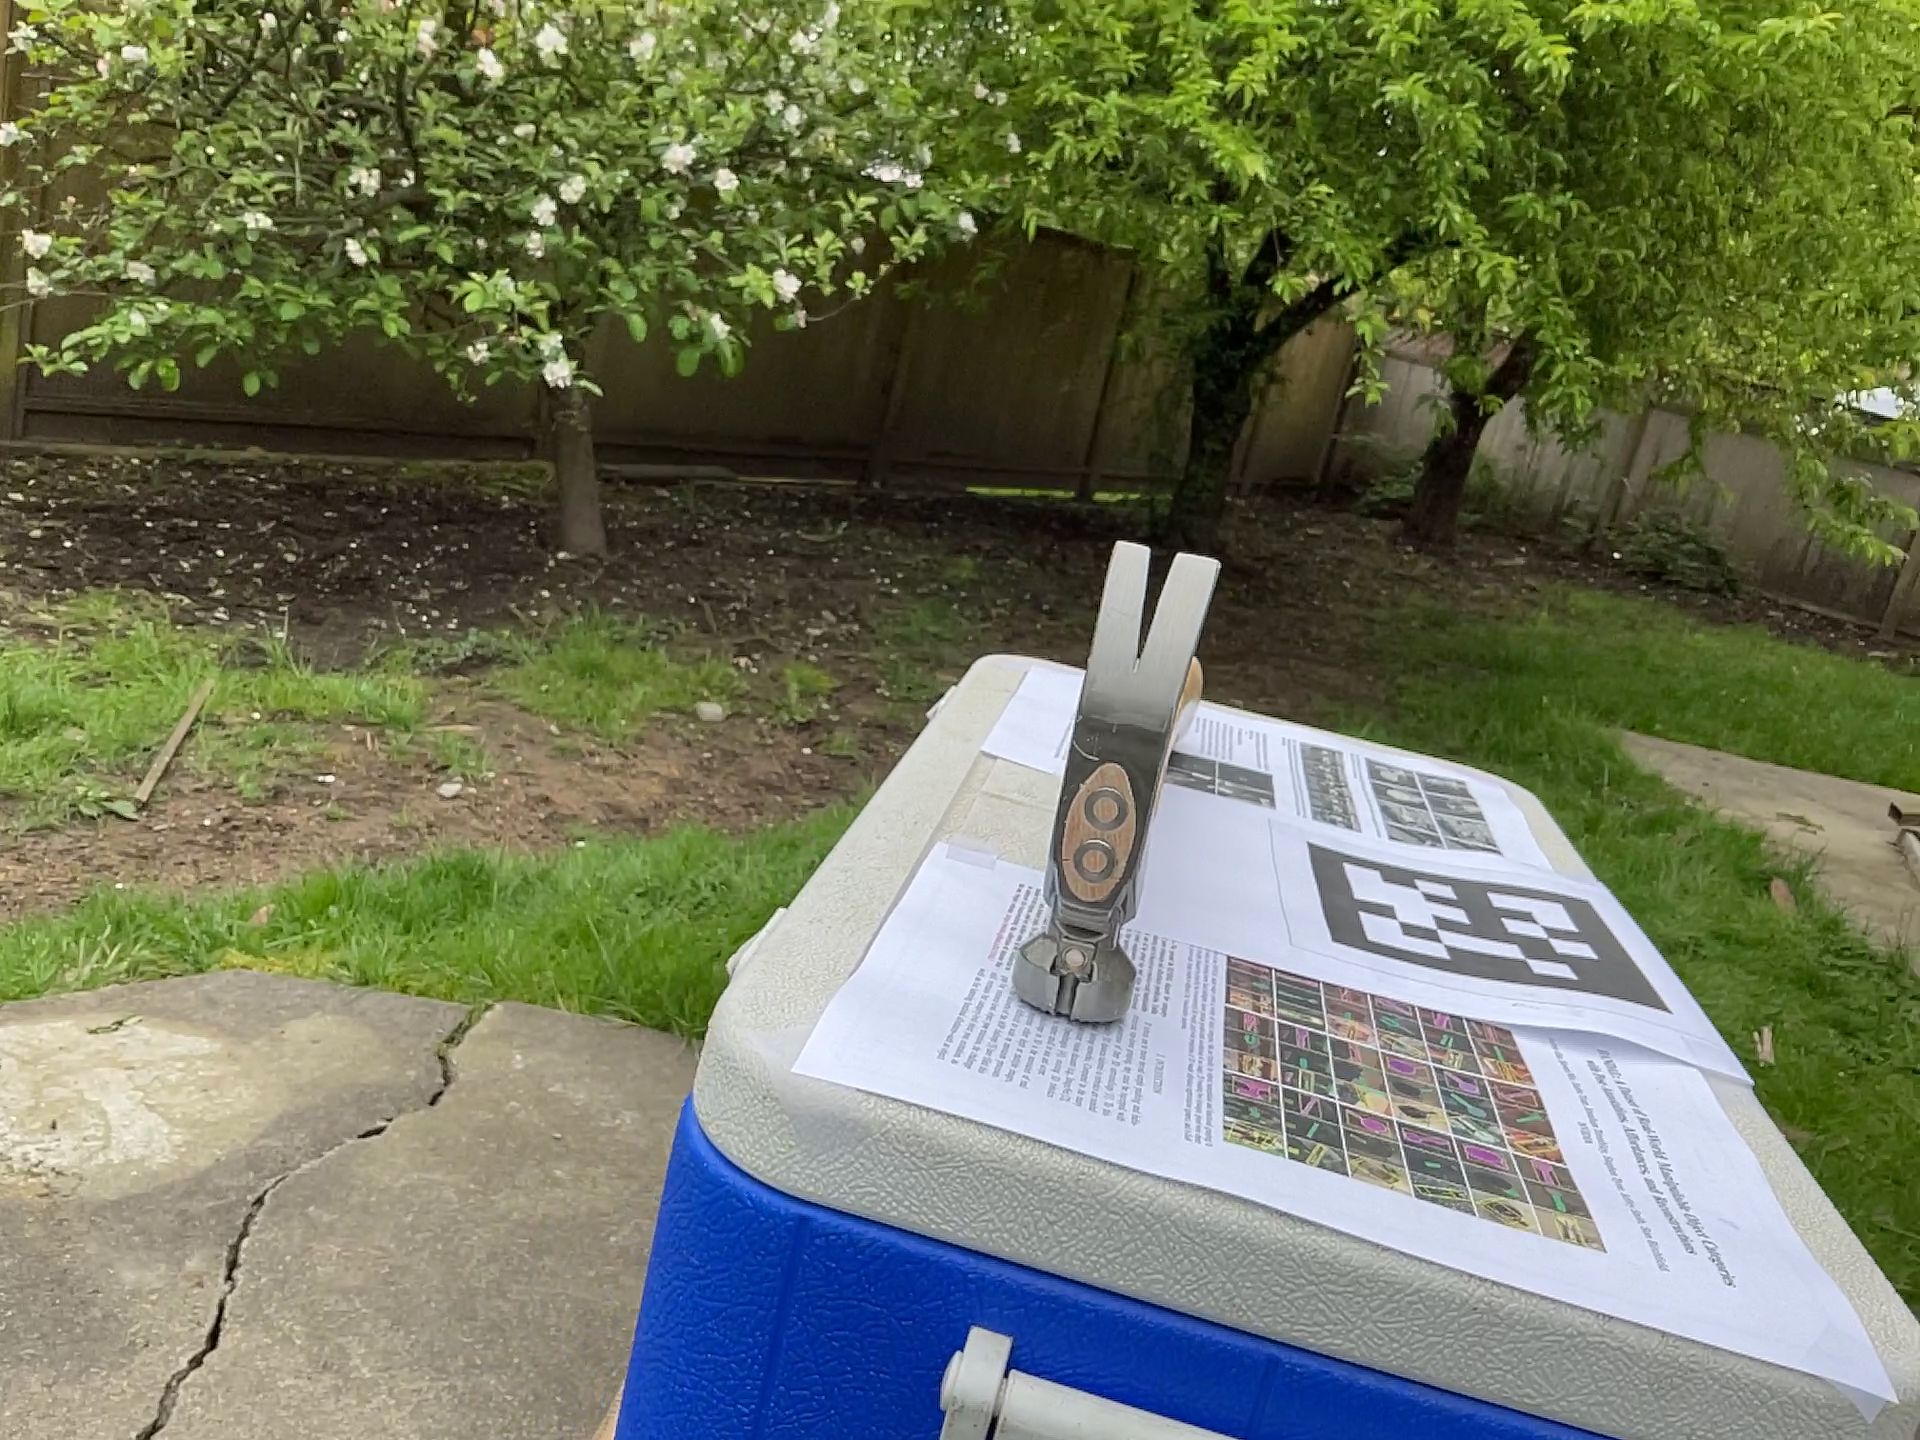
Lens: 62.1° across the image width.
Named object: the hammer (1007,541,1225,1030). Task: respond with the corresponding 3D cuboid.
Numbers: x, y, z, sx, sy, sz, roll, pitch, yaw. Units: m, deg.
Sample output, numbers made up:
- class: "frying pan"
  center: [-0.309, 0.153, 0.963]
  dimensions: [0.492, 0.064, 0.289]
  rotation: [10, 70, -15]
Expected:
- class: "hammer"
  center: [0.080, -0.004, 0.667]
  dimensions: [0.038, 0.146, 0.410]
  rotation: [14, 10, 8]
